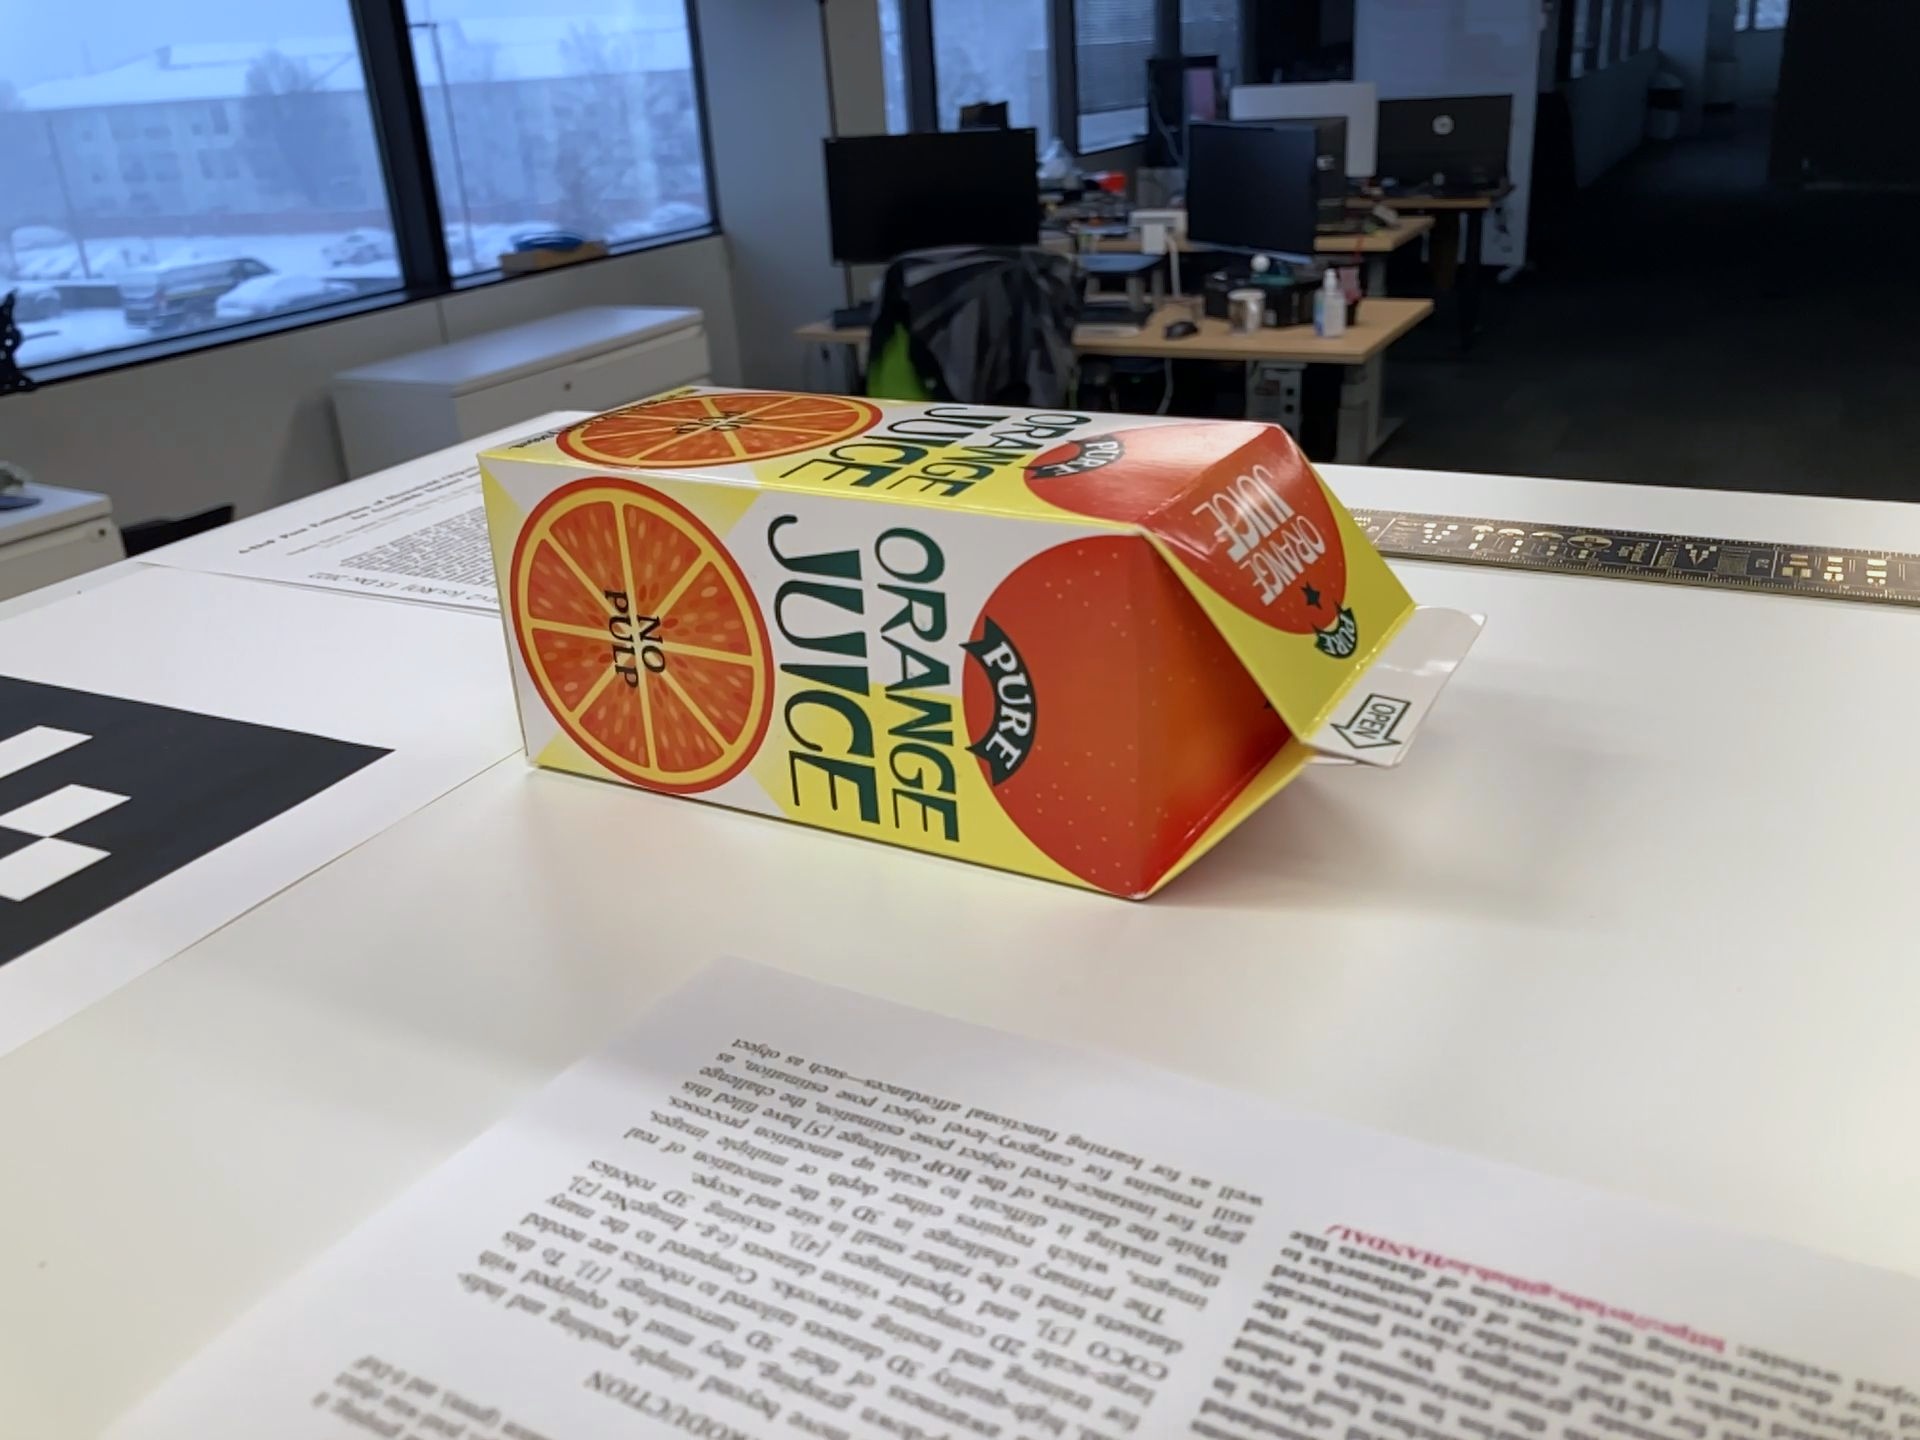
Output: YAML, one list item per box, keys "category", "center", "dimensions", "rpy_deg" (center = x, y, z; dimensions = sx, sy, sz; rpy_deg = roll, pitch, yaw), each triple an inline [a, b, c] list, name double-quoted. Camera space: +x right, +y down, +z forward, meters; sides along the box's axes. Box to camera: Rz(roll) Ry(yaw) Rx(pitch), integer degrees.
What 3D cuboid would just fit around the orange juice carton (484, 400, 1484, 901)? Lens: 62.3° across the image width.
- category: "orange juice carton"
  center: [0.002, -0.020, 0.324]
  dimensions: [0.192, 0.073, 0.072]
  rpy_deg: [9, 25, 29]
